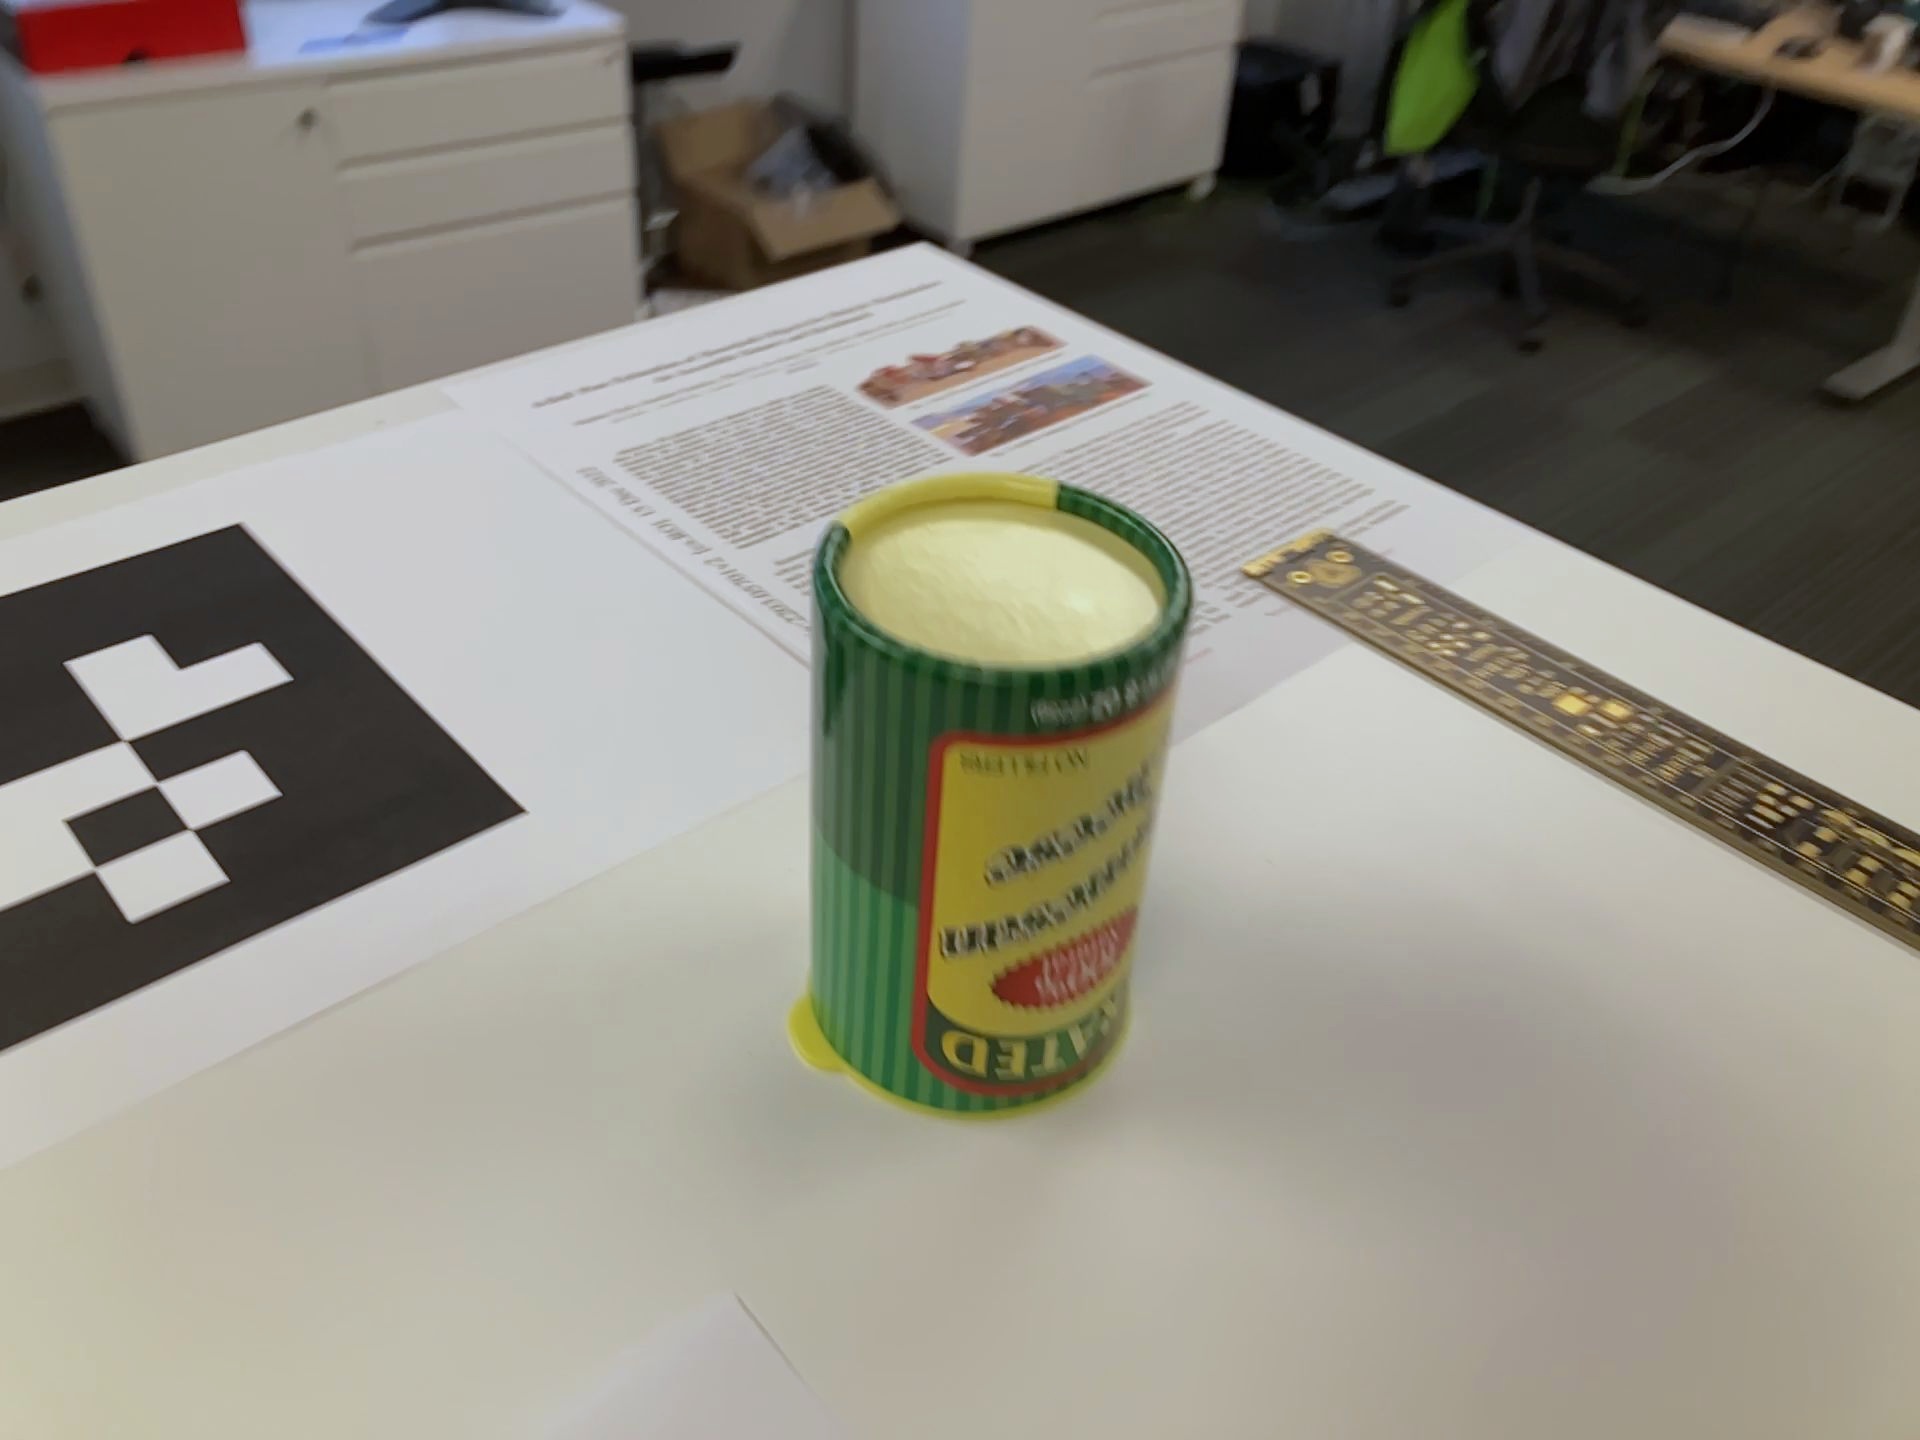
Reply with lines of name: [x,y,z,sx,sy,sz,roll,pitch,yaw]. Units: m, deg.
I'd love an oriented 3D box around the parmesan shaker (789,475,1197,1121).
parmesan shaker: [0.002,0.016,0.294,0.071,0.103,0.071,2,38,-2]
